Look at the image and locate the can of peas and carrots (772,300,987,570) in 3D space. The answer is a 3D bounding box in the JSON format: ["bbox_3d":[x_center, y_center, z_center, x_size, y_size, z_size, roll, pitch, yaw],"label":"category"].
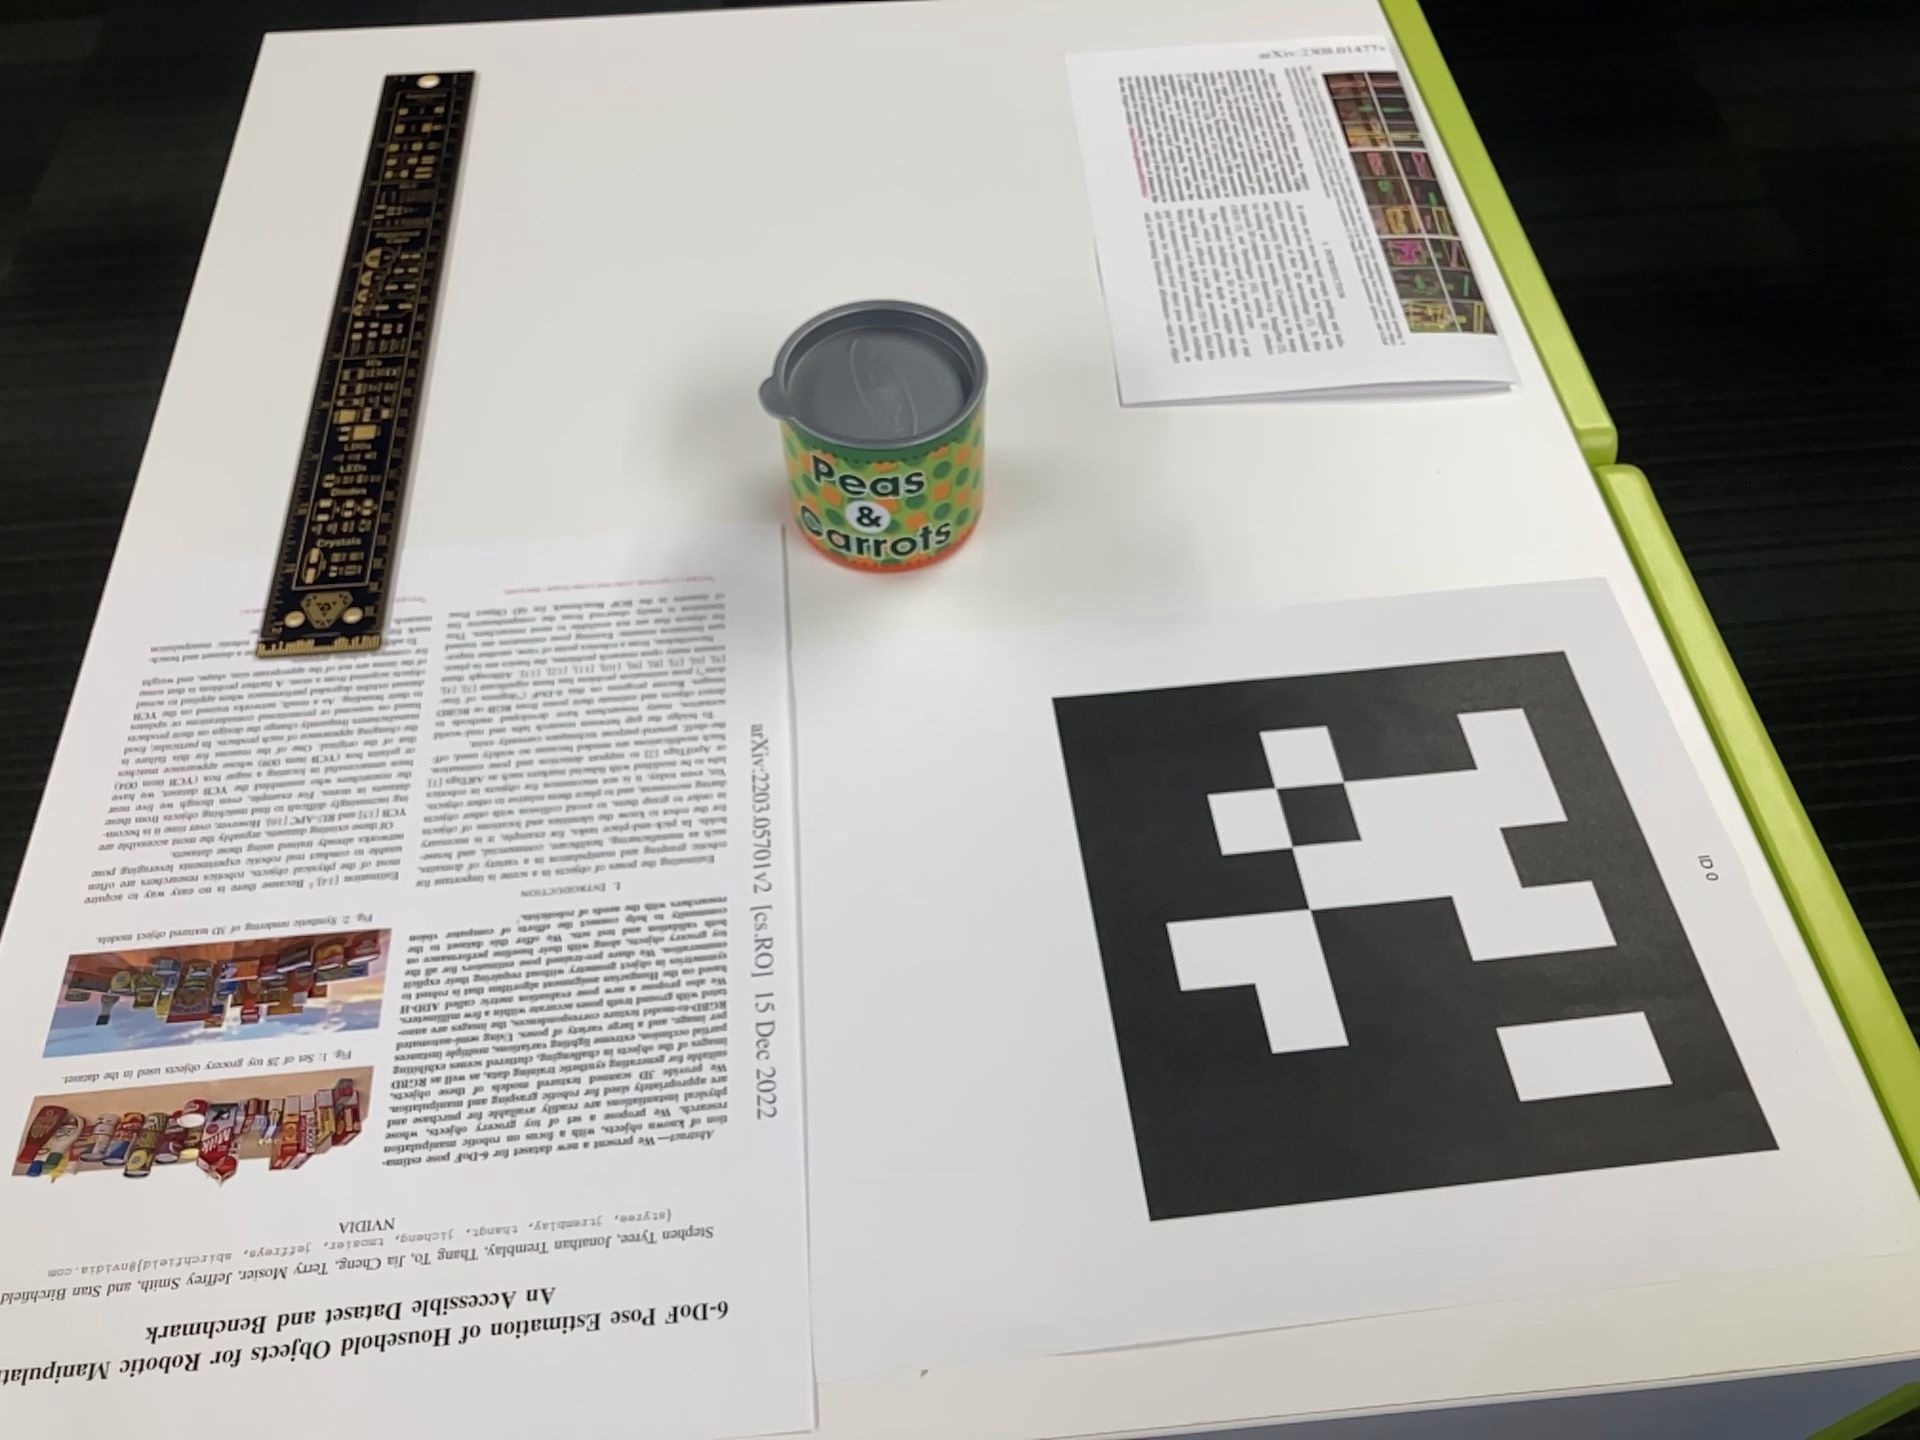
[{"bbox_3d":[-0.025,-0.089,0.509,0.071,0.059,0.071,0,54,0],"label":"can of peas and carrots"}]
